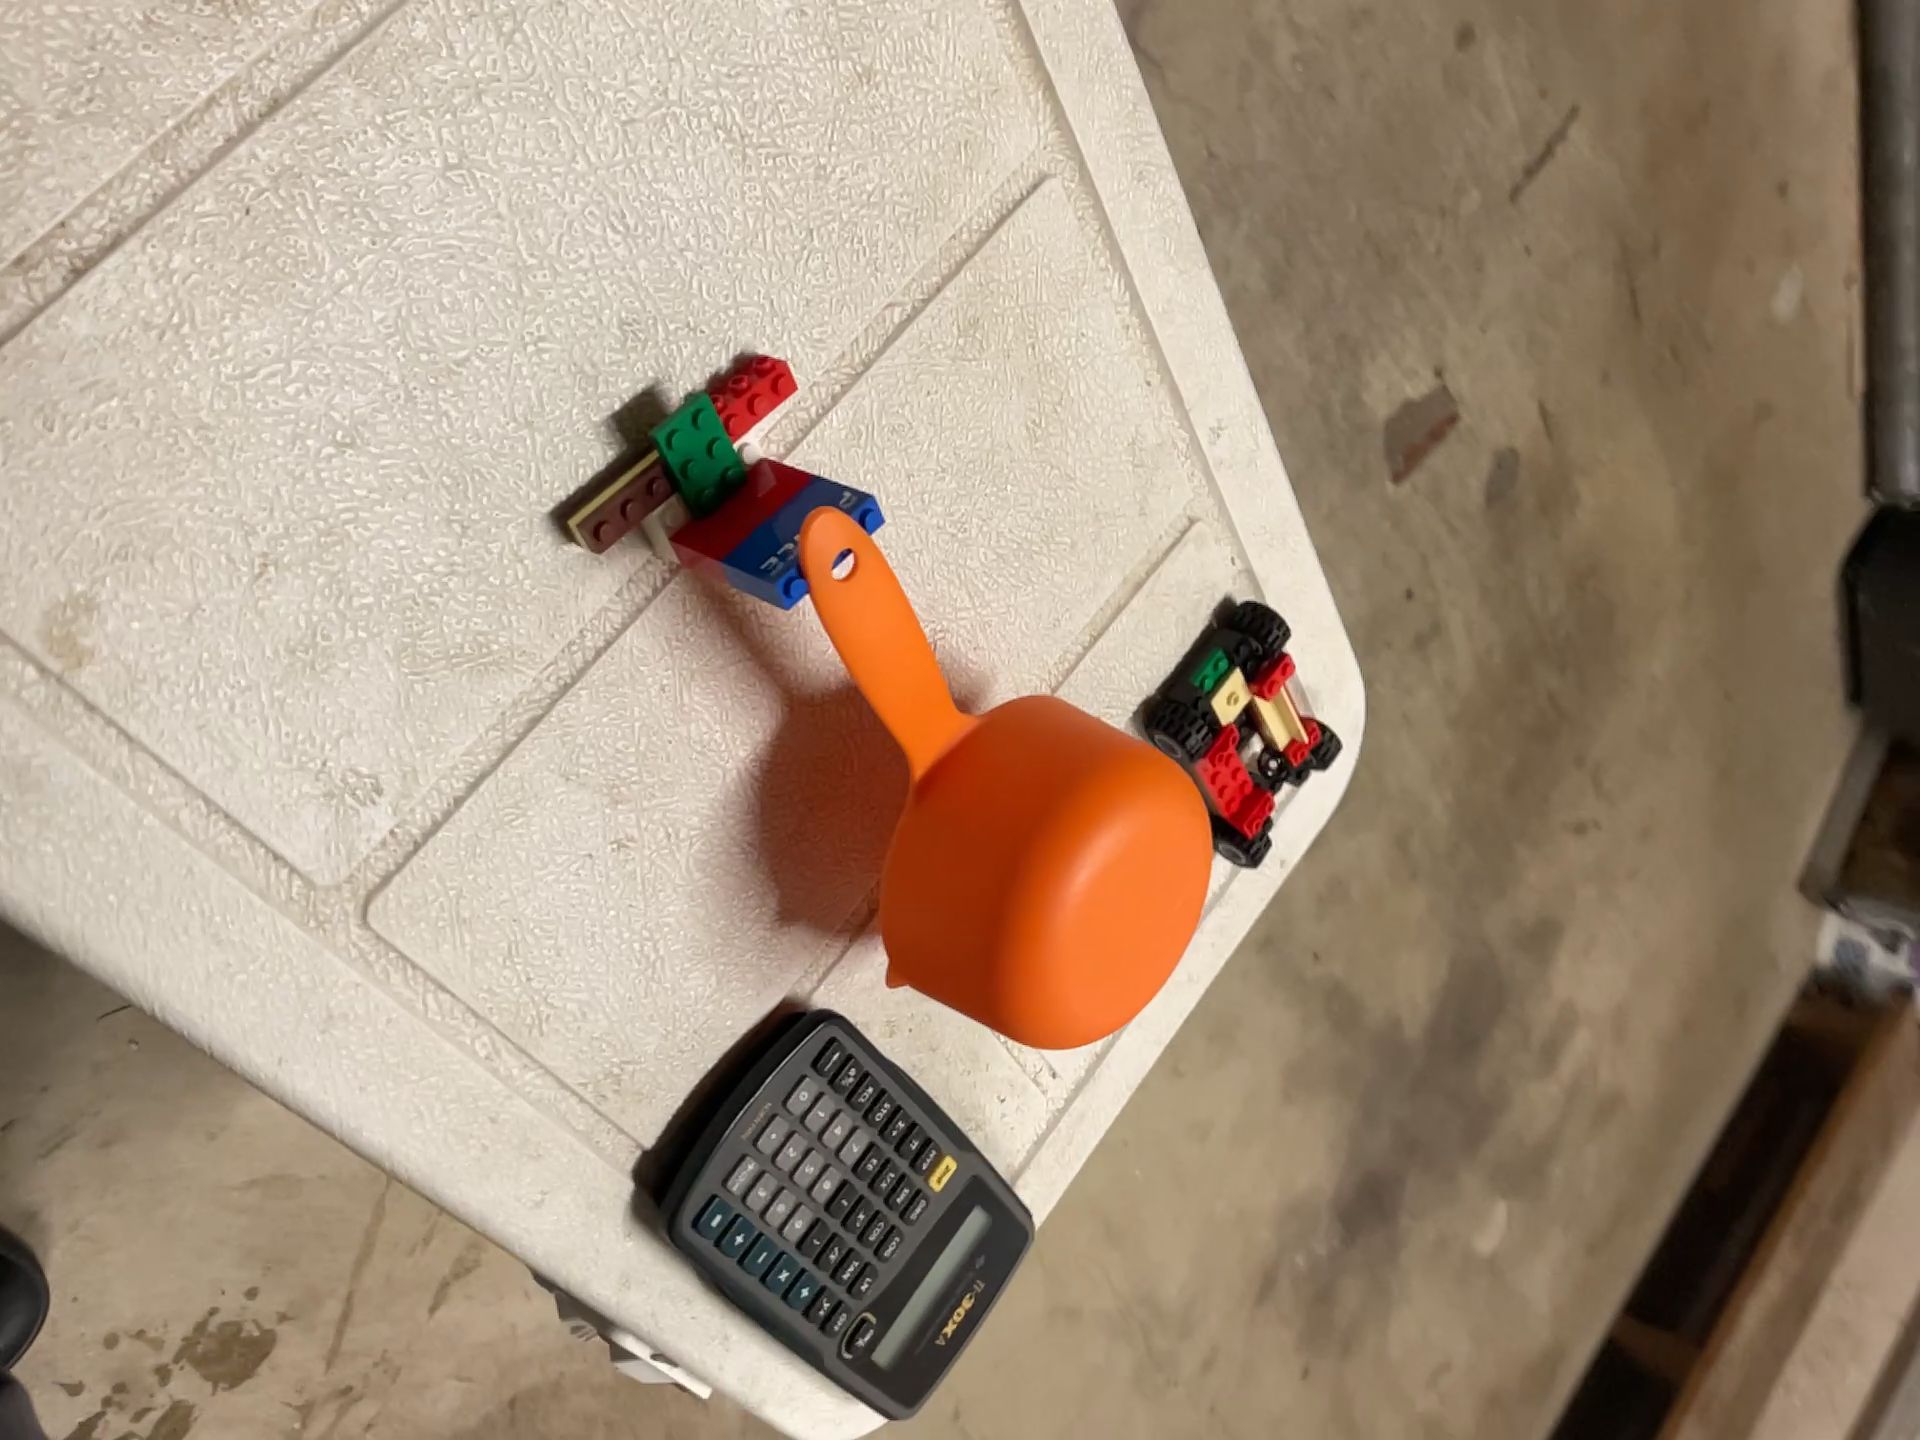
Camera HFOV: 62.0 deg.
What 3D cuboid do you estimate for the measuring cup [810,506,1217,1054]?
[{"bbox_3d":[0.014,0.017,0.385,0.095,0.052,0.173,-50,141,-19],"label":"measuring cup"}]
